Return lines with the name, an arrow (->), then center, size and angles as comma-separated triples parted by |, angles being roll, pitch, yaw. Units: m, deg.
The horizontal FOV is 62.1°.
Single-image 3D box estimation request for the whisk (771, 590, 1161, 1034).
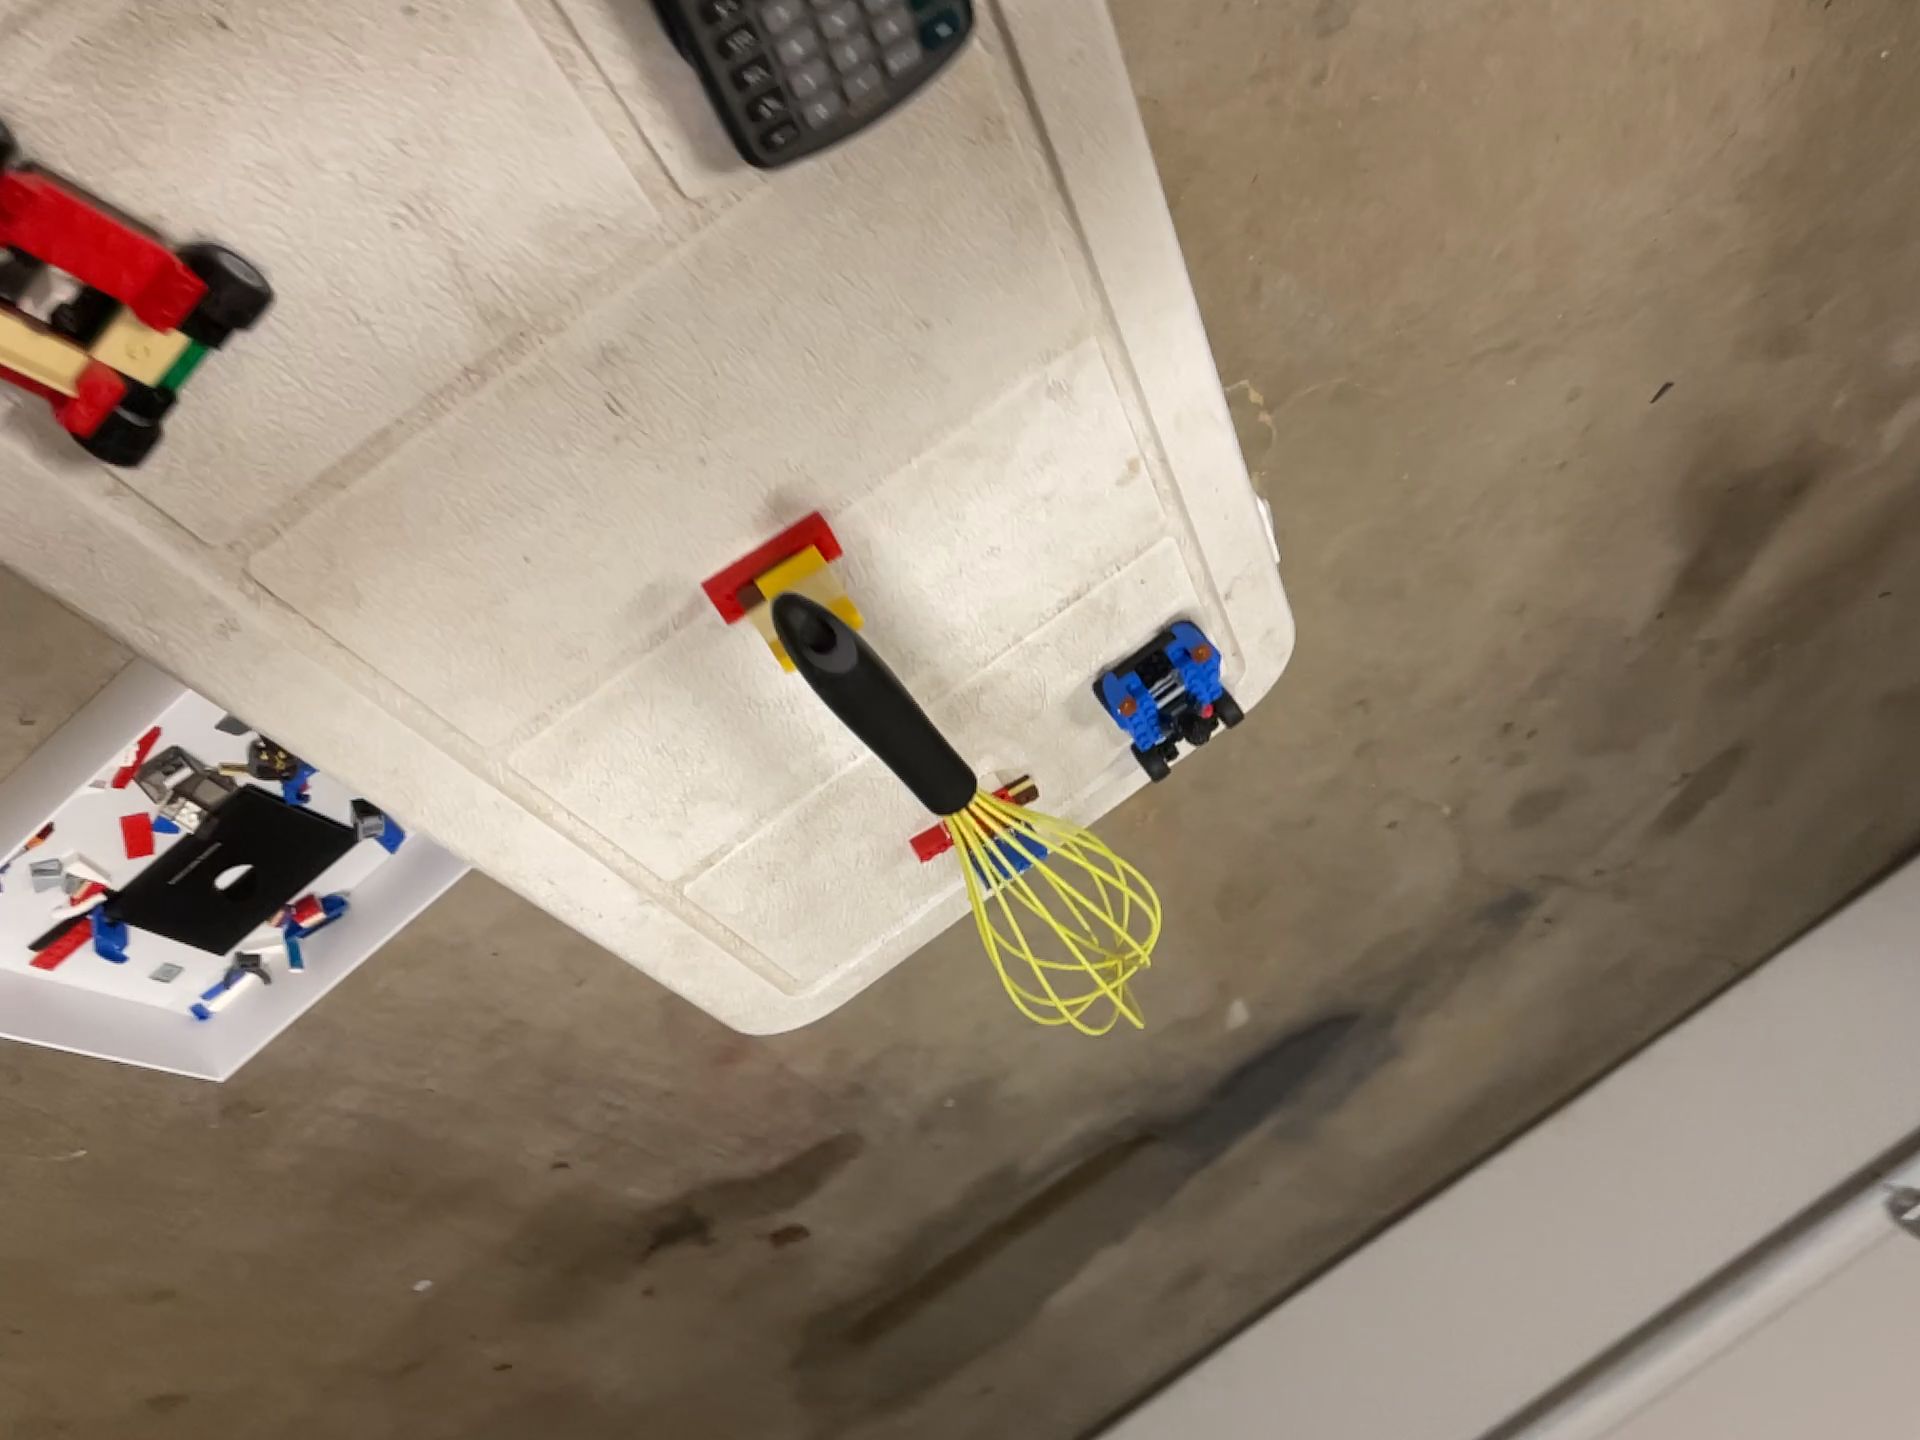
whisk -> 0.007, 0.041, 0.618 | 0.311, 0.067, 0.080 | 51, 47, -48
